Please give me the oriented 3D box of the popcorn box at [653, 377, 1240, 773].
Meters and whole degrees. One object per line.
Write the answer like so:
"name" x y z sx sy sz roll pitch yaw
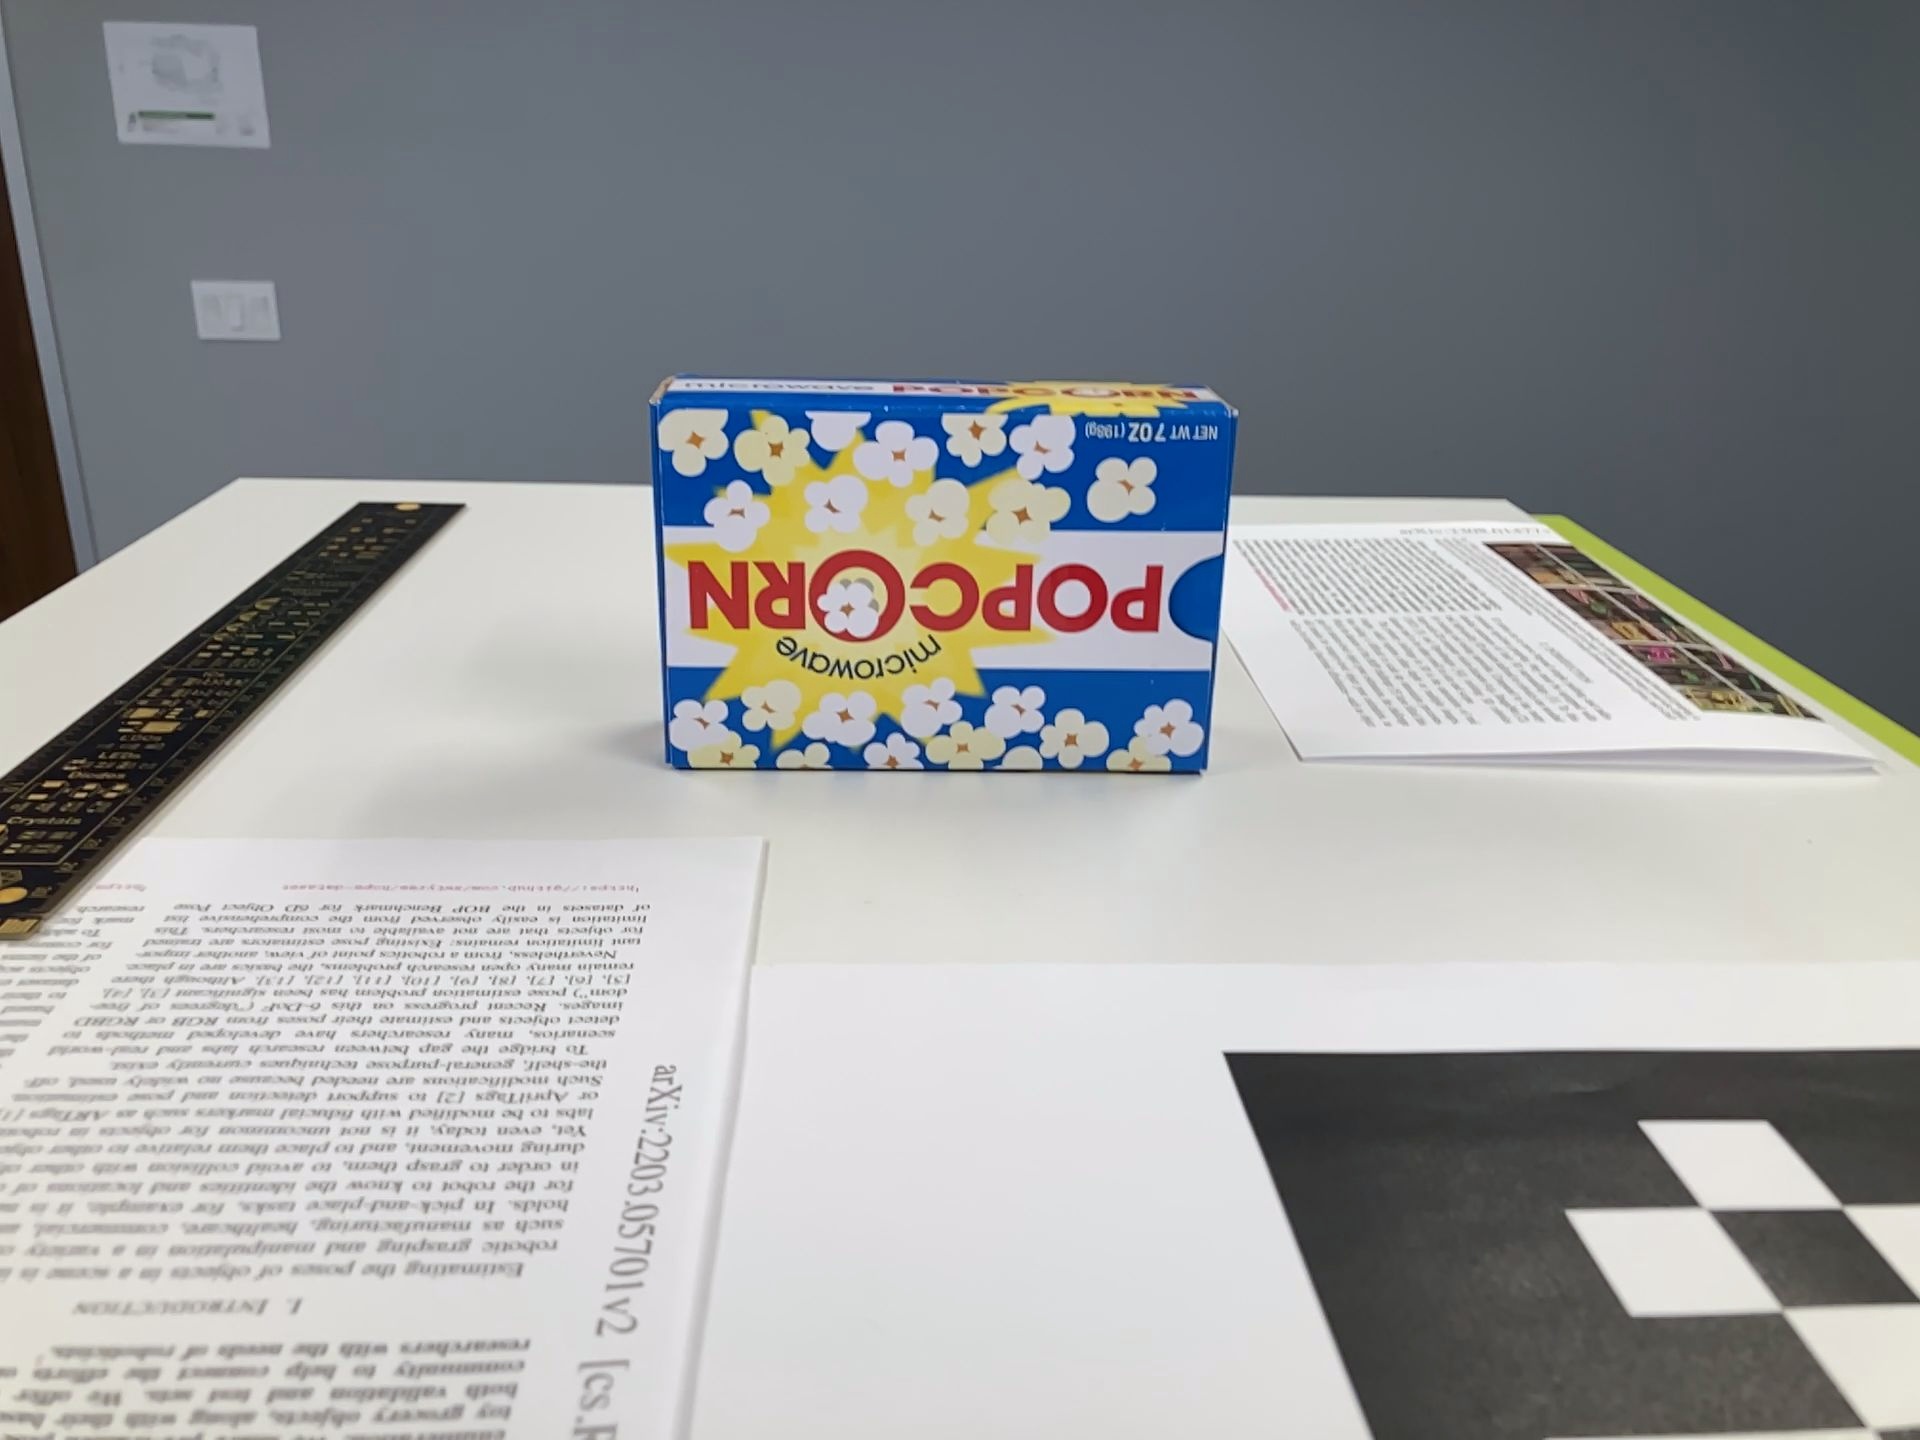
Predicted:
"popcorn box" -0.005 -0.033 0.366 0.126 0.085 0.038 0 20 -3
